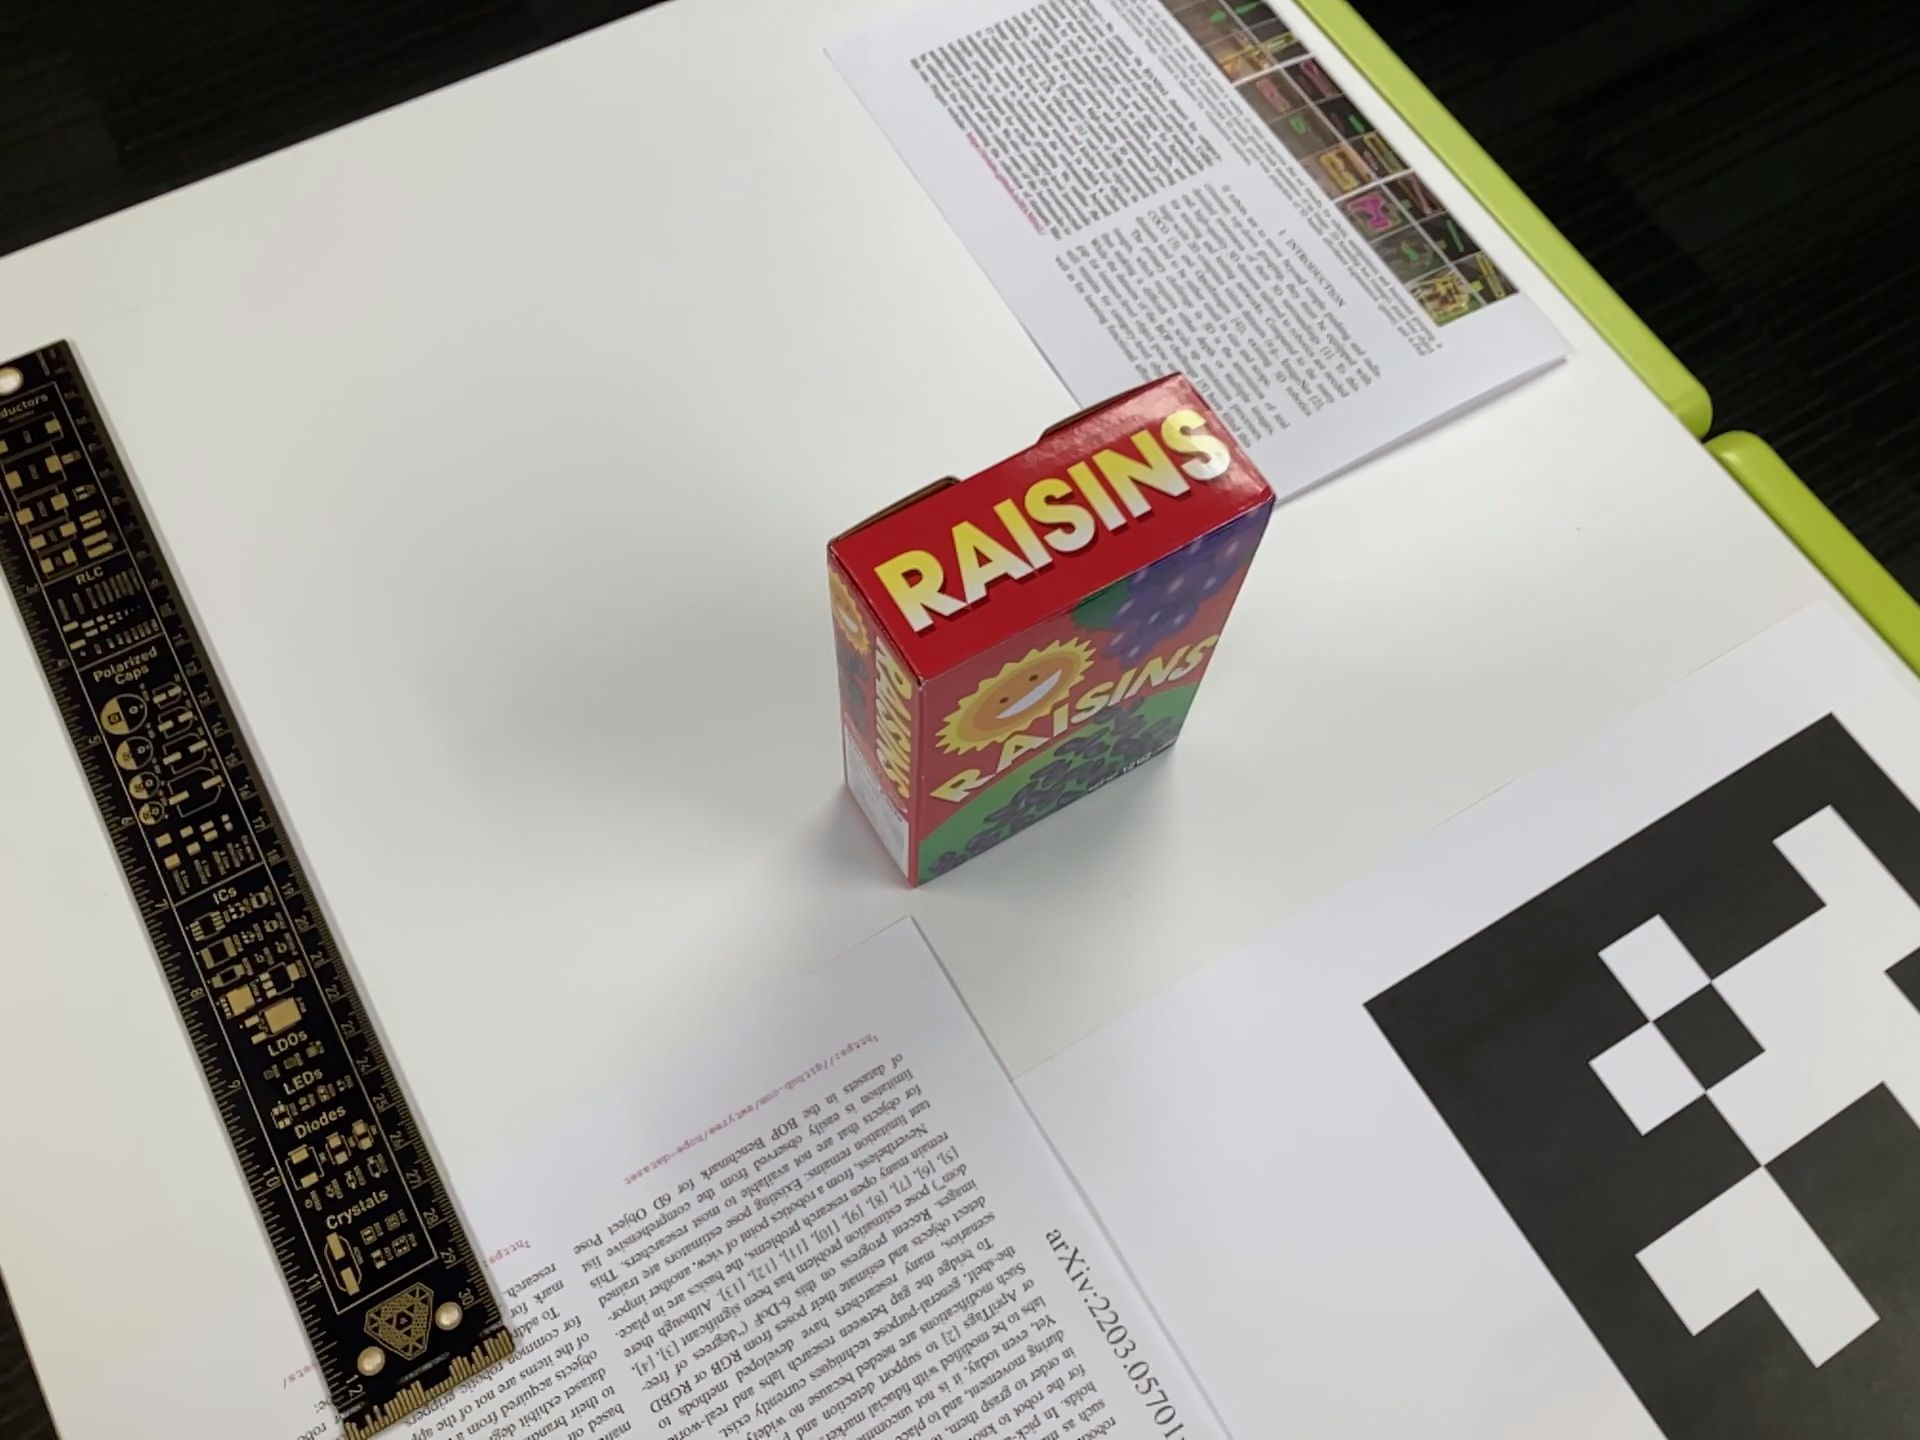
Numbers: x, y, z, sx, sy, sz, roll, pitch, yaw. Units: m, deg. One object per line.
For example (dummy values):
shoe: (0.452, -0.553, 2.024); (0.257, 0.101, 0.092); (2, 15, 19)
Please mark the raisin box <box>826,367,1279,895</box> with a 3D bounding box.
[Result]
raisin box: (0.017, -0.015, 0.364); (0.086, 0.123, 0.040); (-27, 69, -14)
